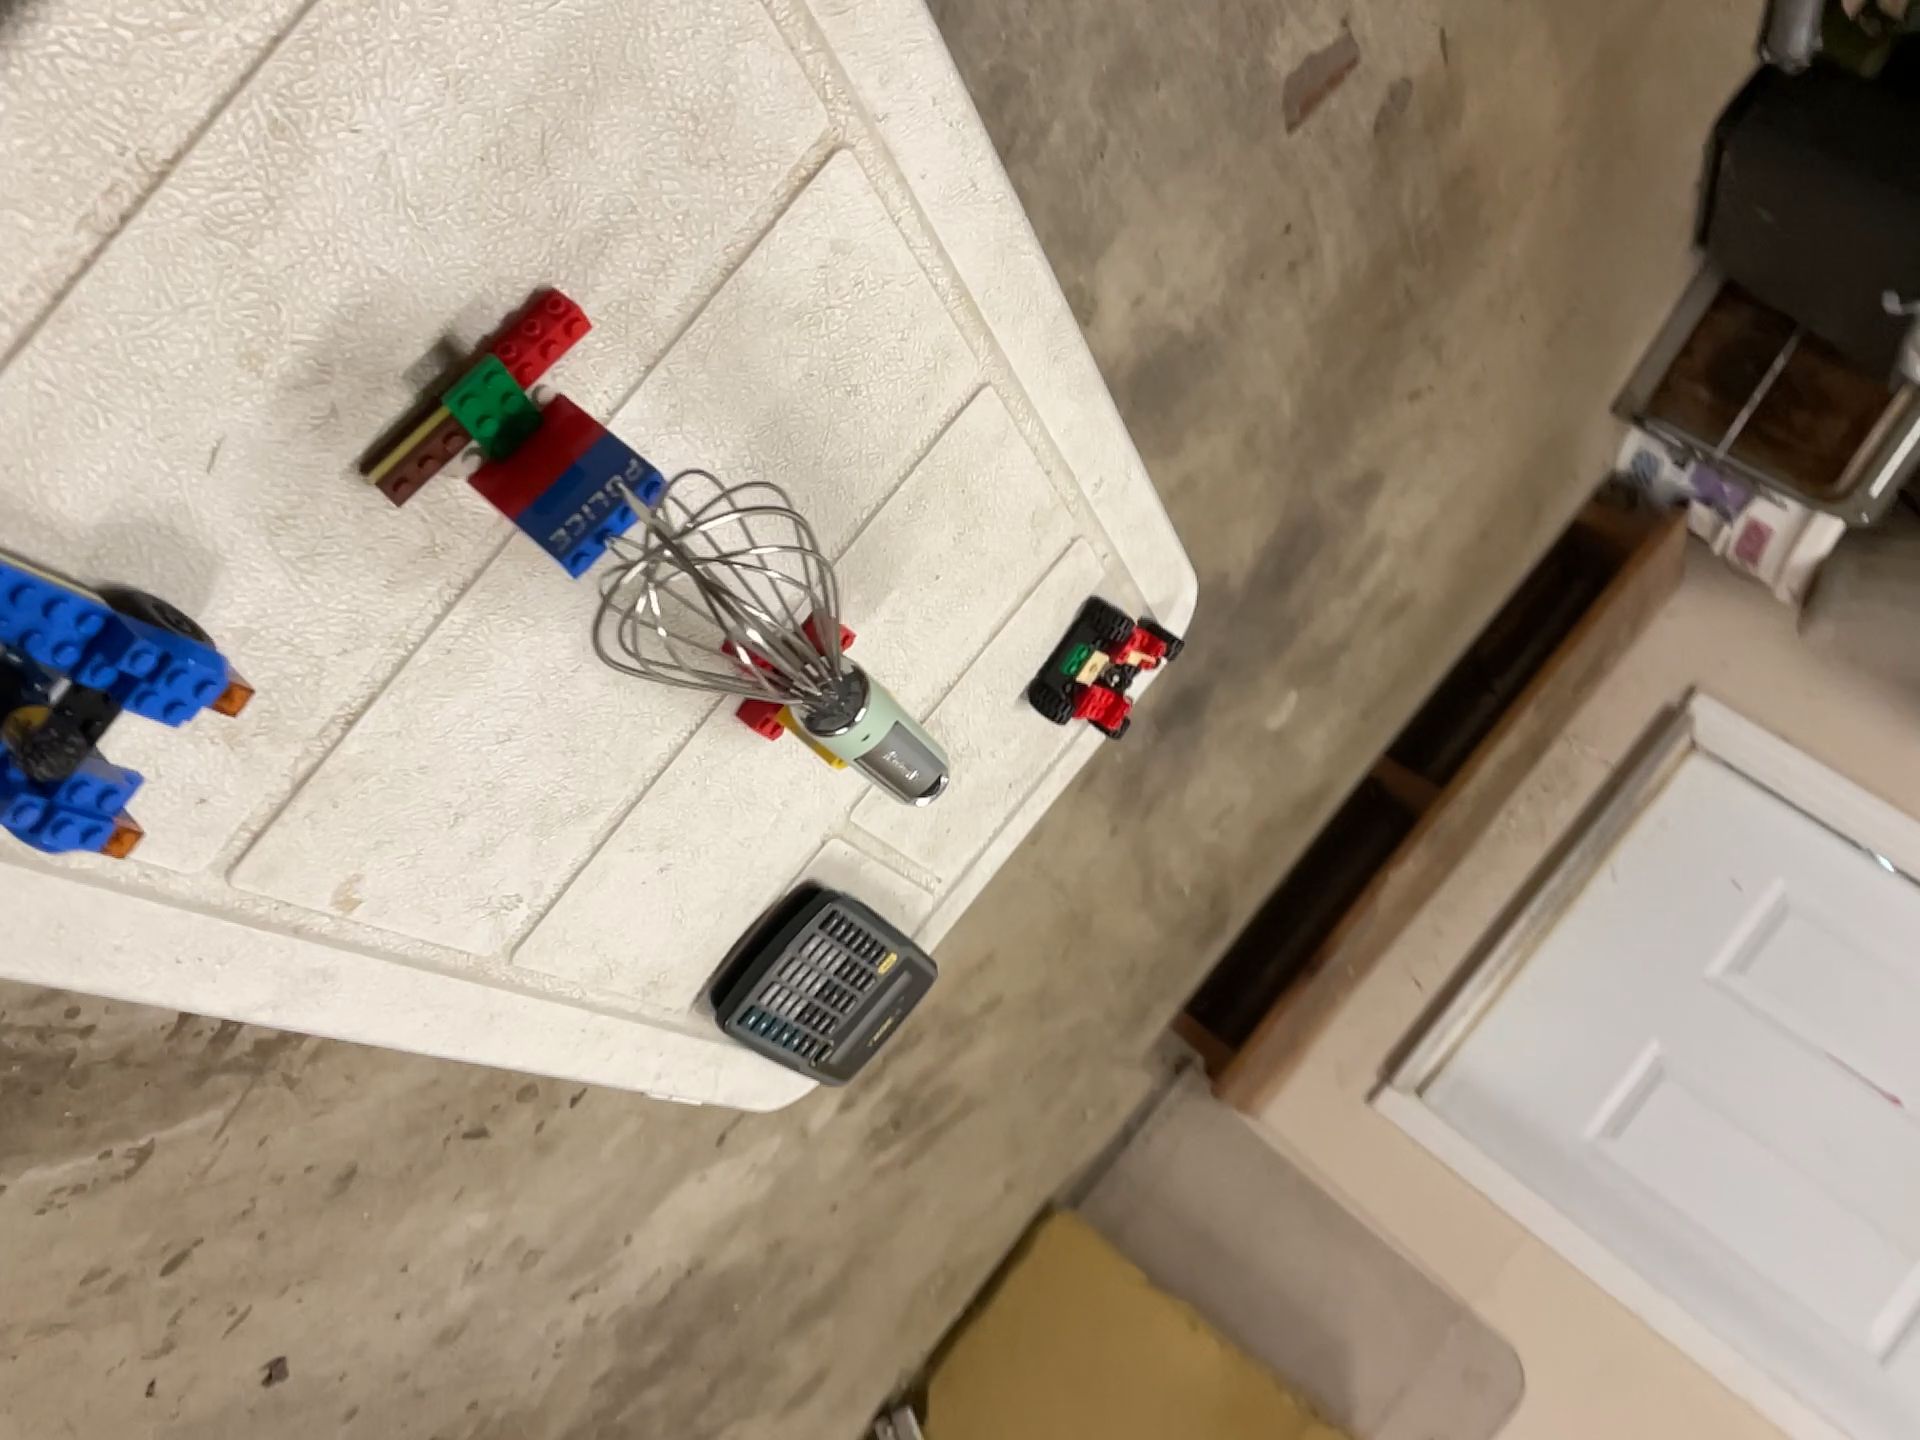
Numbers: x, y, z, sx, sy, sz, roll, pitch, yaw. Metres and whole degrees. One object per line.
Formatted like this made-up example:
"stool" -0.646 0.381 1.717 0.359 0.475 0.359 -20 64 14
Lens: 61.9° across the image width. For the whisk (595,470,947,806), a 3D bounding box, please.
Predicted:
"whisk" -0.040 -0.009 0.458 0.058 0.059 0.246 -43 161 -1
